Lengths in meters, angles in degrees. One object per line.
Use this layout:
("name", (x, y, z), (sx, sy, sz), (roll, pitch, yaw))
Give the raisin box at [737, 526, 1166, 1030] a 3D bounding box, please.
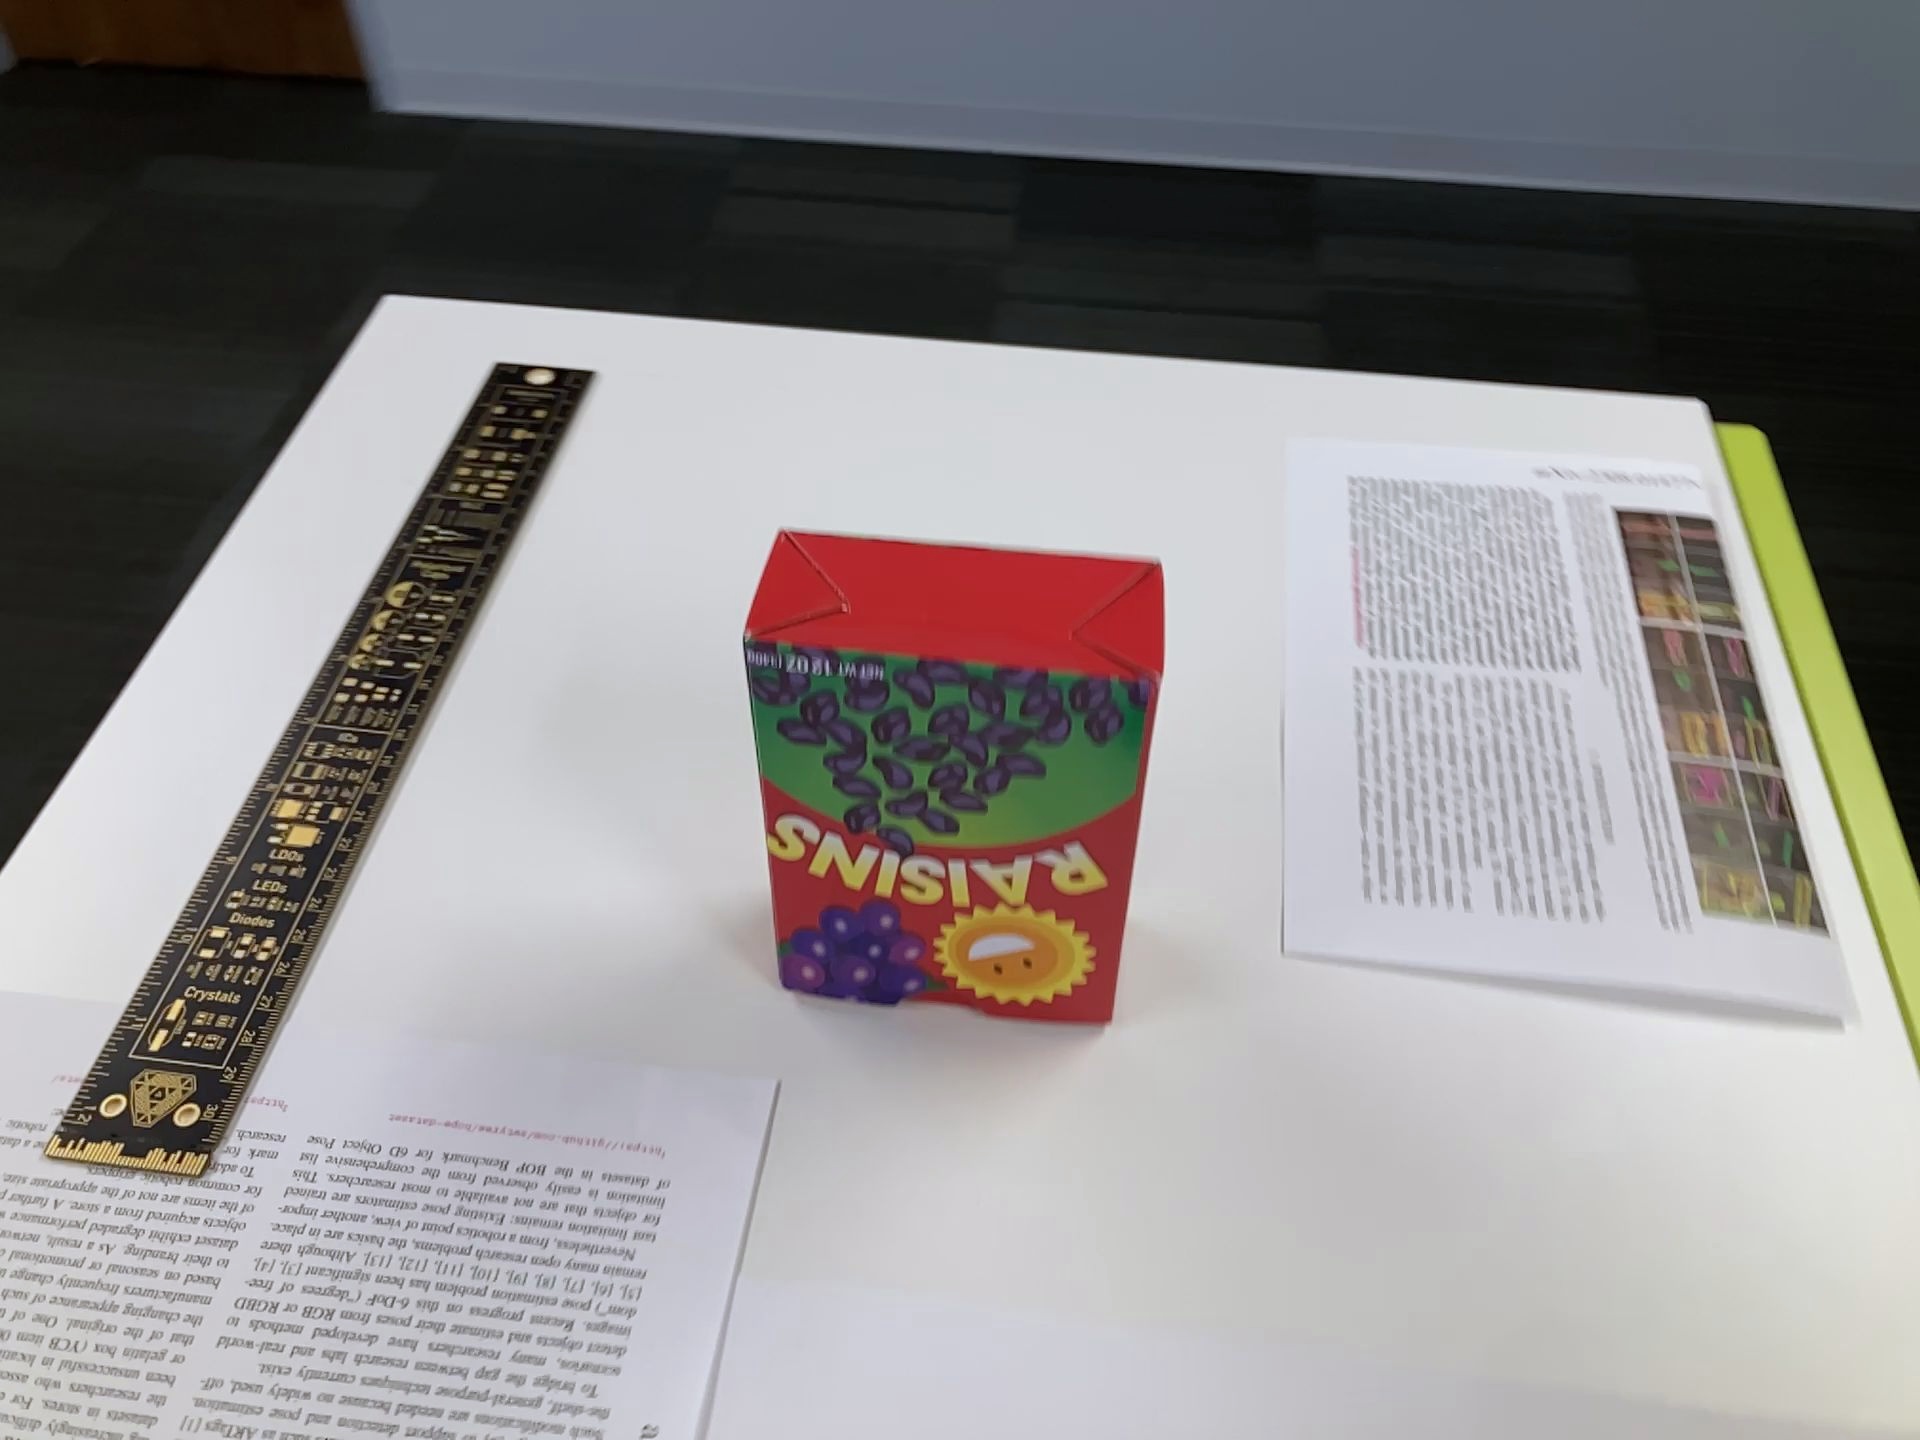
("raisin box", (-0.001, 0.018, 0.365), (0.086, 0.123, 0.040), (5, 46, 4))
